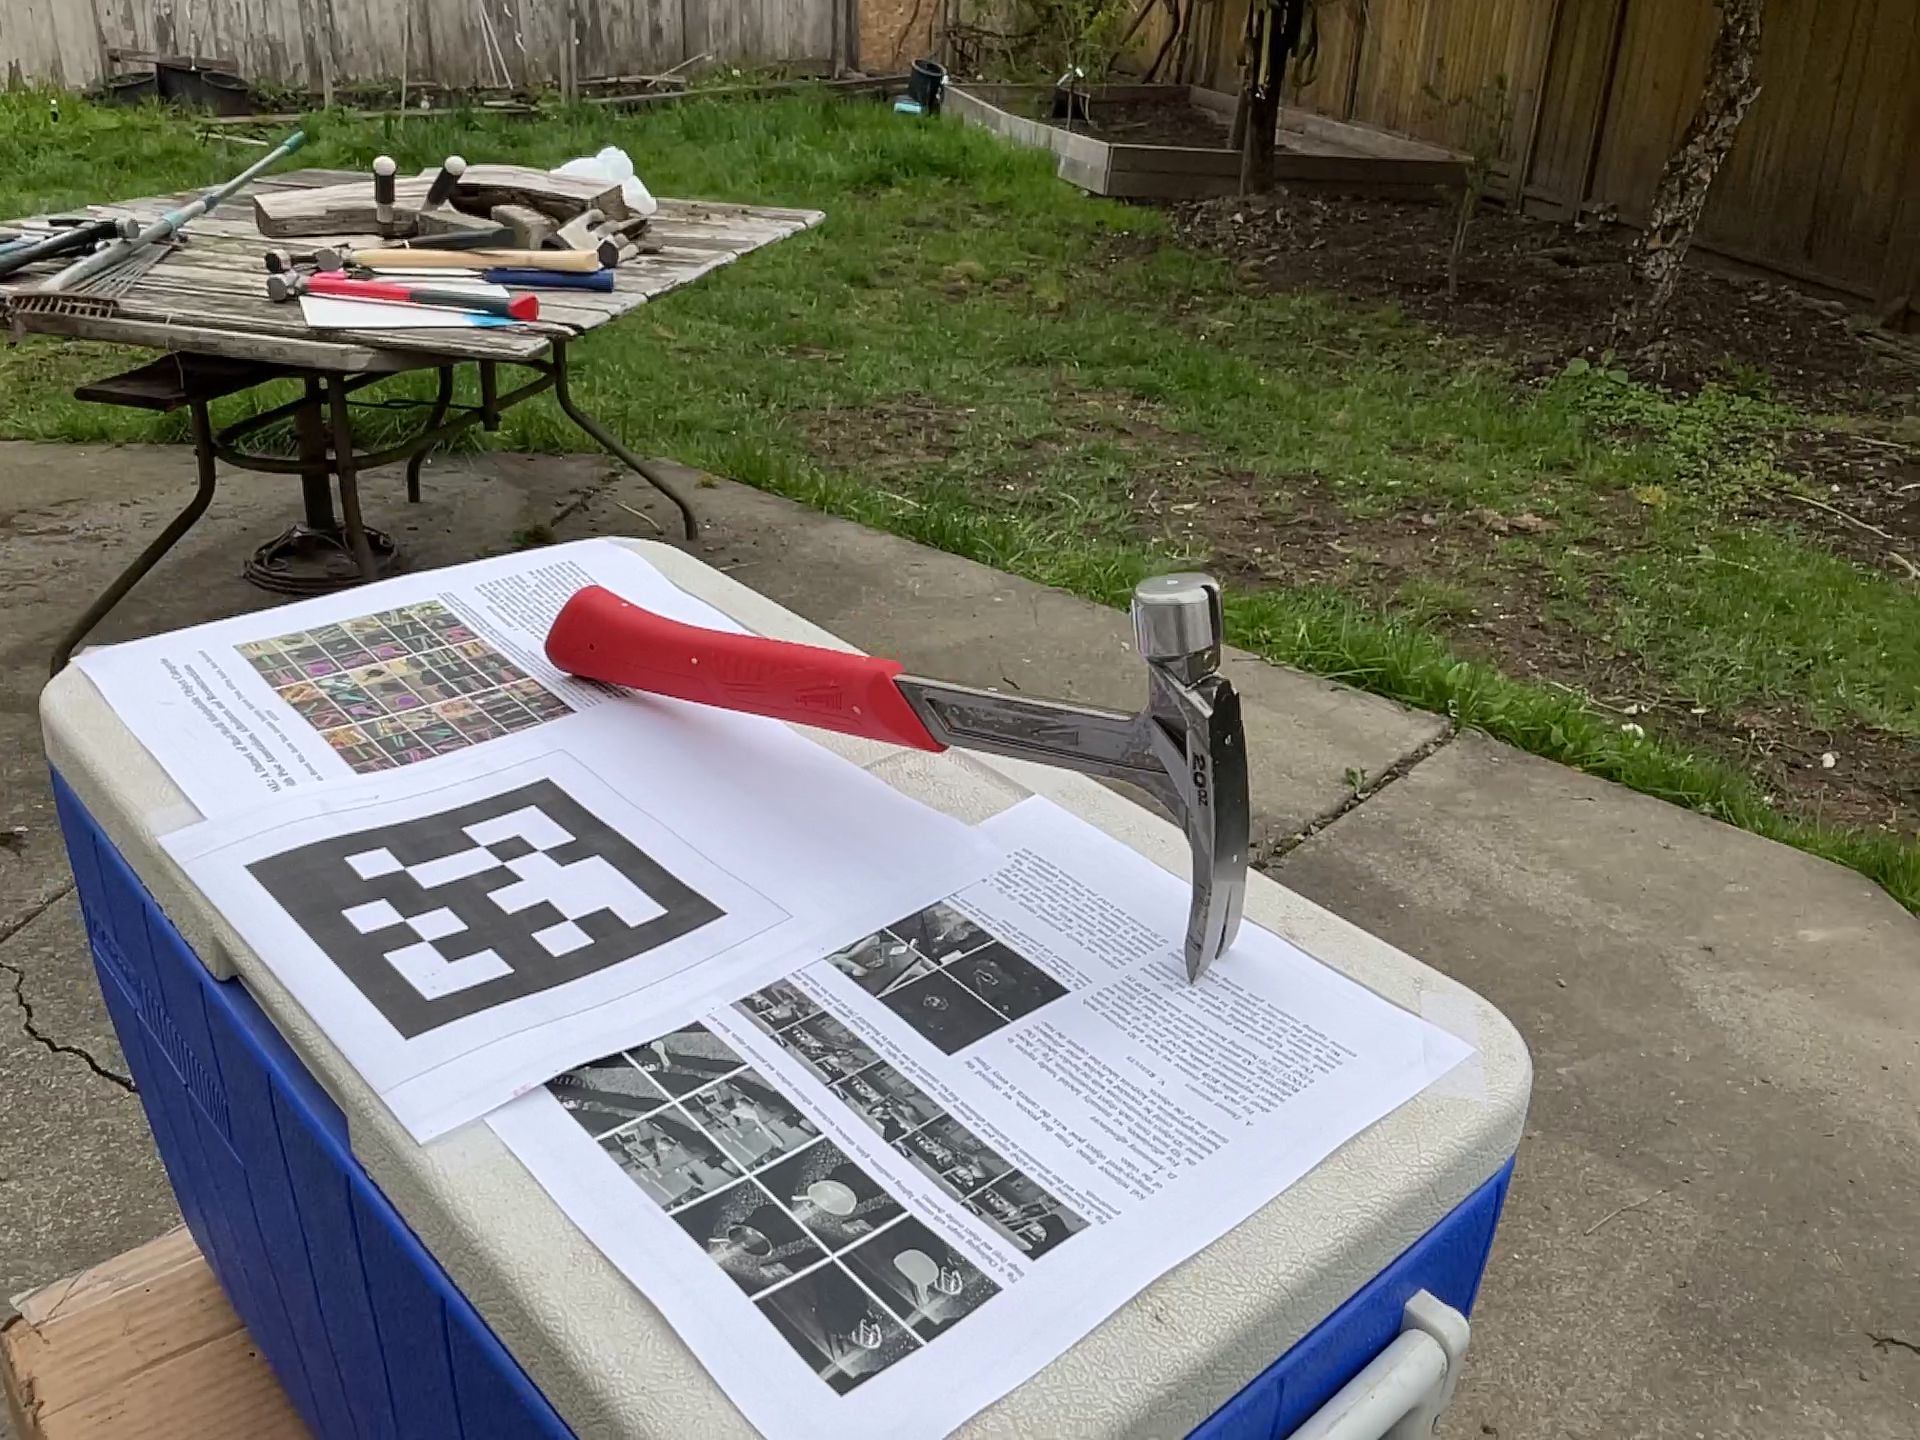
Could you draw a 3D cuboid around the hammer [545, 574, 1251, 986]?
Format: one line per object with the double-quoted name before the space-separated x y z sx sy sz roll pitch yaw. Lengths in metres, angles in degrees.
"hammer" -0.045 -0.001 0.668 0.359 0.149 0.036 10 26 37
